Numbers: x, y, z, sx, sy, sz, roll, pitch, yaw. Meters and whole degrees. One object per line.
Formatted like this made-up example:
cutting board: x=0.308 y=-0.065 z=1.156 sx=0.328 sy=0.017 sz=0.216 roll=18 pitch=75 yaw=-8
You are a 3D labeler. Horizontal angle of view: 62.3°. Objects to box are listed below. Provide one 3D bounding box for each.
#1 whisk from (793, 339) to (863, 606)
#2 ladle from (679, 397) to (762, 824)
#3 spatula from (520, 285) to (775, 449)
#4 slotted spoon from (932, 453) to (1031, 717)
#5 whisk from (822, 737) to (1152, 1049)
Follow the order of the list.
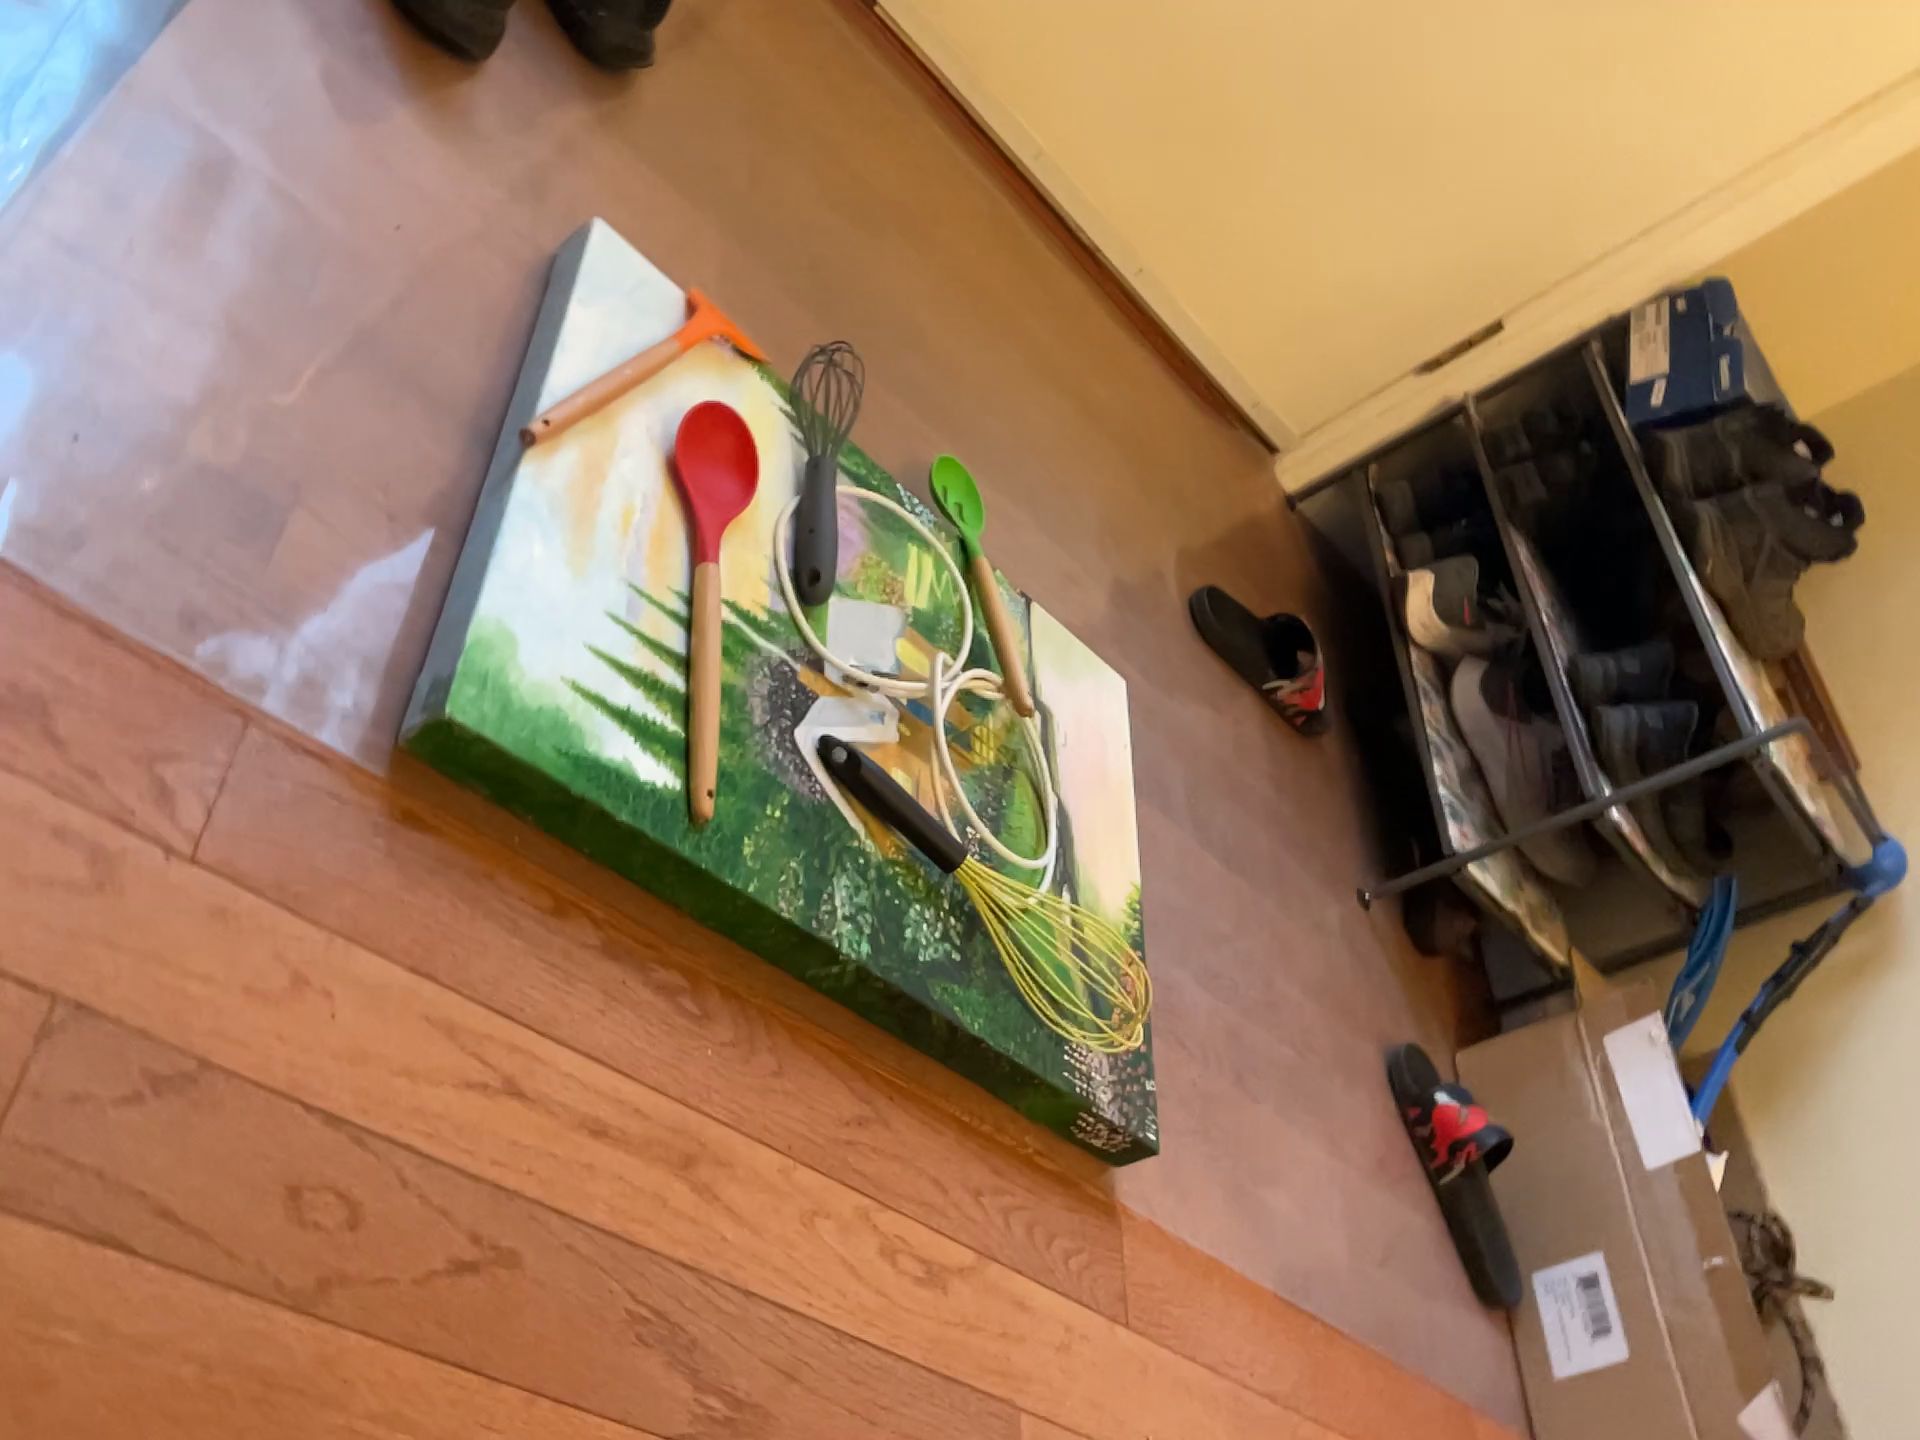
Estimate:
whisk: x=-0.098 y=-0.182 z=1.146 sx=0.055 sy=0.055 sz=0.239 roll=23 pitch=52 yaw=-33
ladle: x=-0.155 y=-0.075 z=0.985 sx=0.069 sy=0.031 sz=0.316 roll=31 pitch=44 yaw=-40
spatula: x=-0.206 y=-0.235 z=1.061 sx=0.081 sy=0.041 sz=0.323 roll=44 pitch=34 yaw=-7
slotted spoon: x=0.018 y=-0.112 z=1.269 sx=0.070 sy=0.031 sz=0.314 roll=37 pitch=26 yaw=-37
whisk: x=0.019 y=0.117 z=1.068 sx=0.311 sy=0.067 sz=0.080 roll=44 pitch=28 yaw=-17
